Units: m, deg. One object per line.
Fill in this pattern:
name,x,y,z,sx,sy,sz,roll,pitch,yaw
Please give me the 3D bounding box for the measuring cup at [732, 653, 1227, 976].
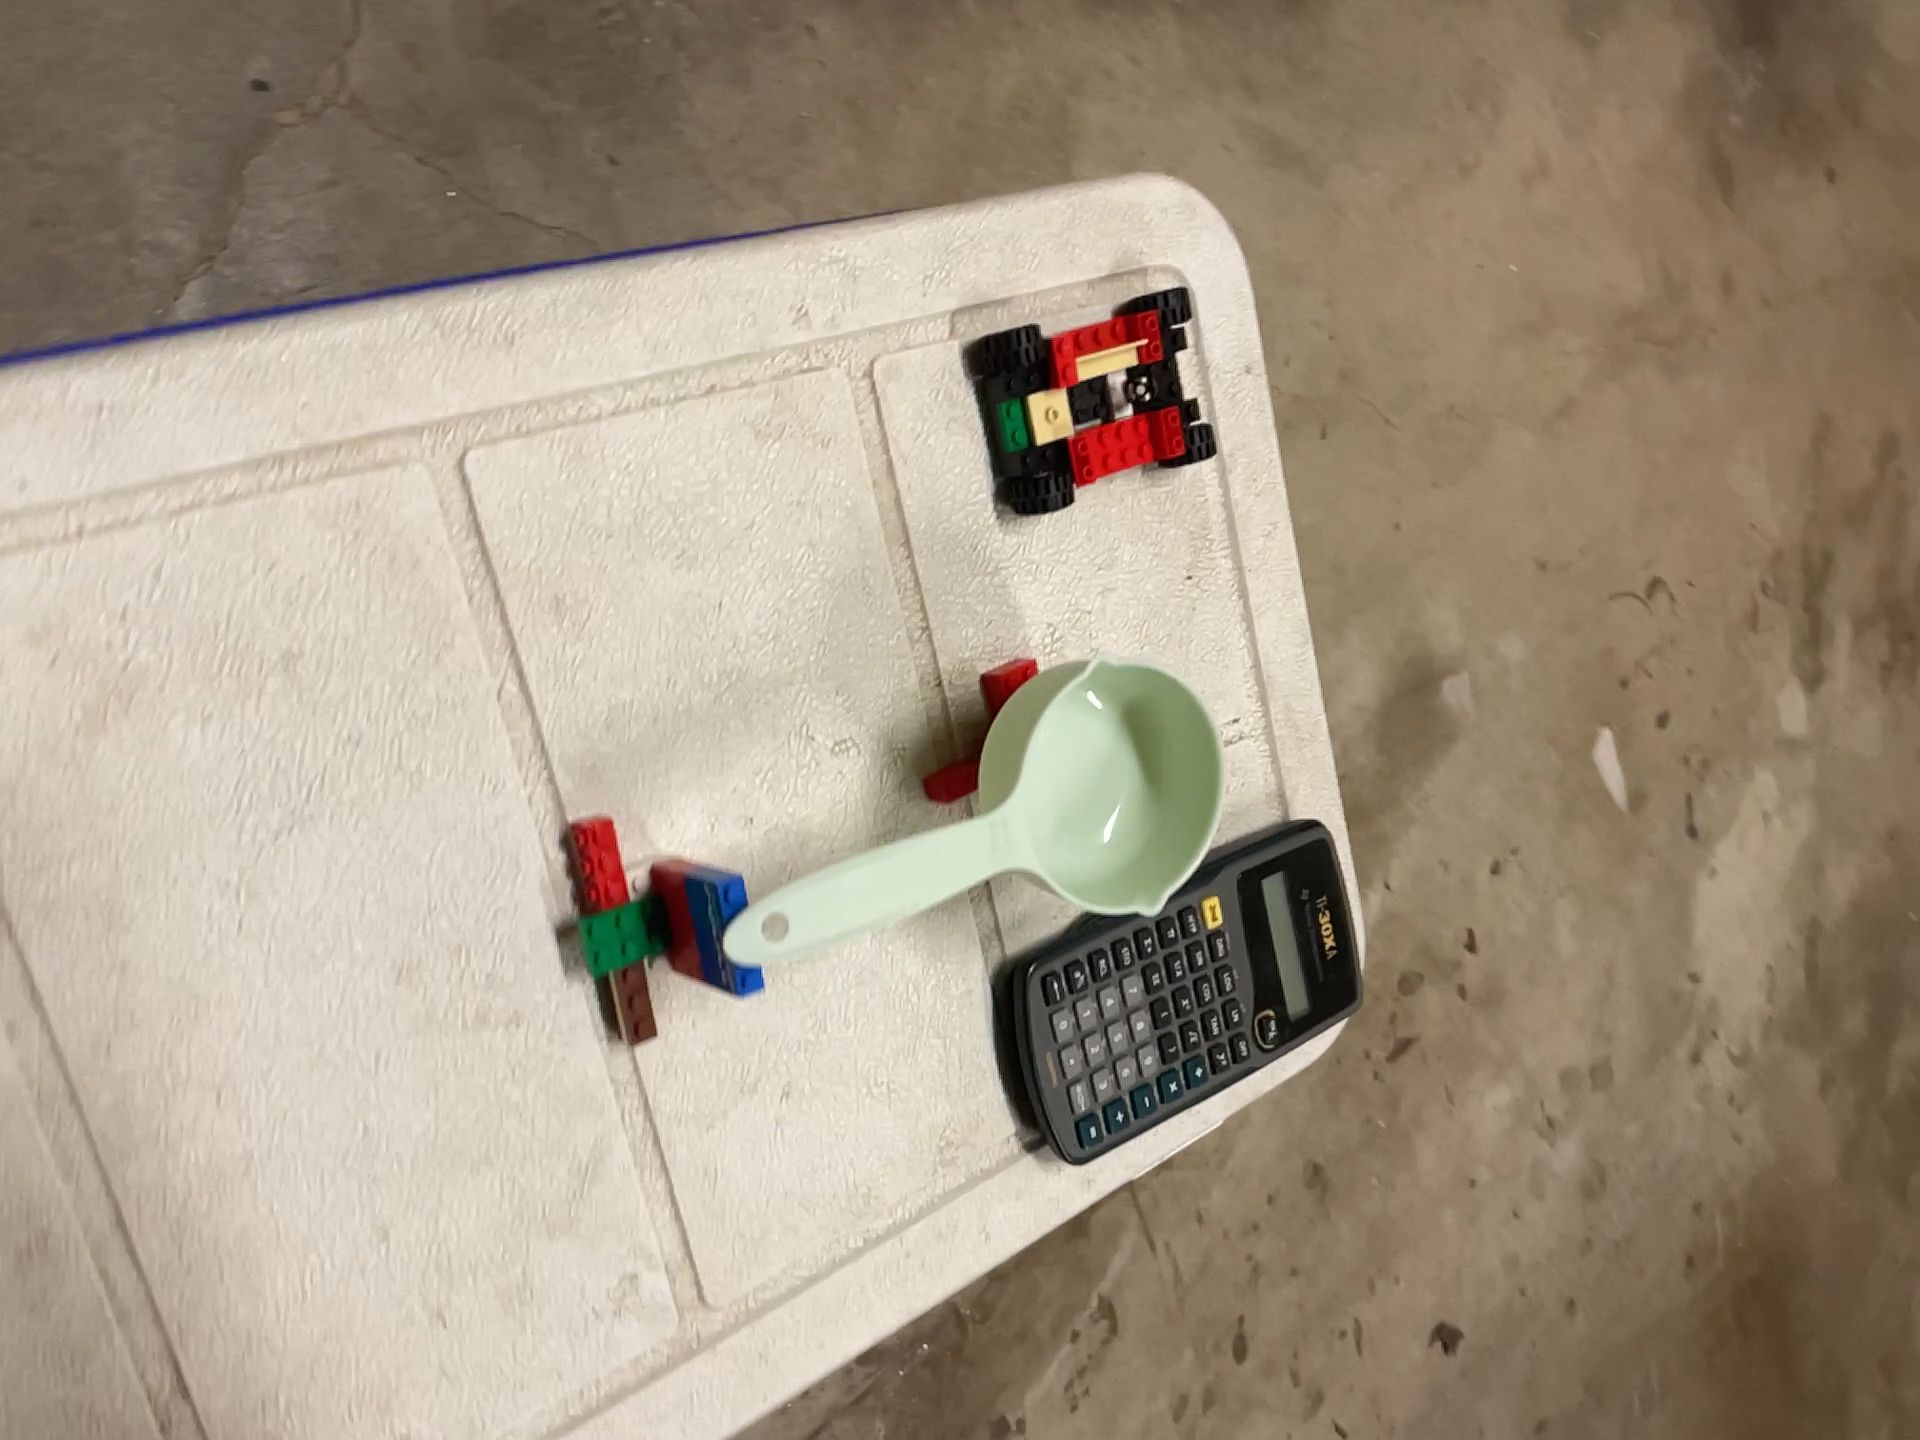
measuring cup,0.003,0.033,0.466,0.167,0.038,0.083,-22,107,-27
